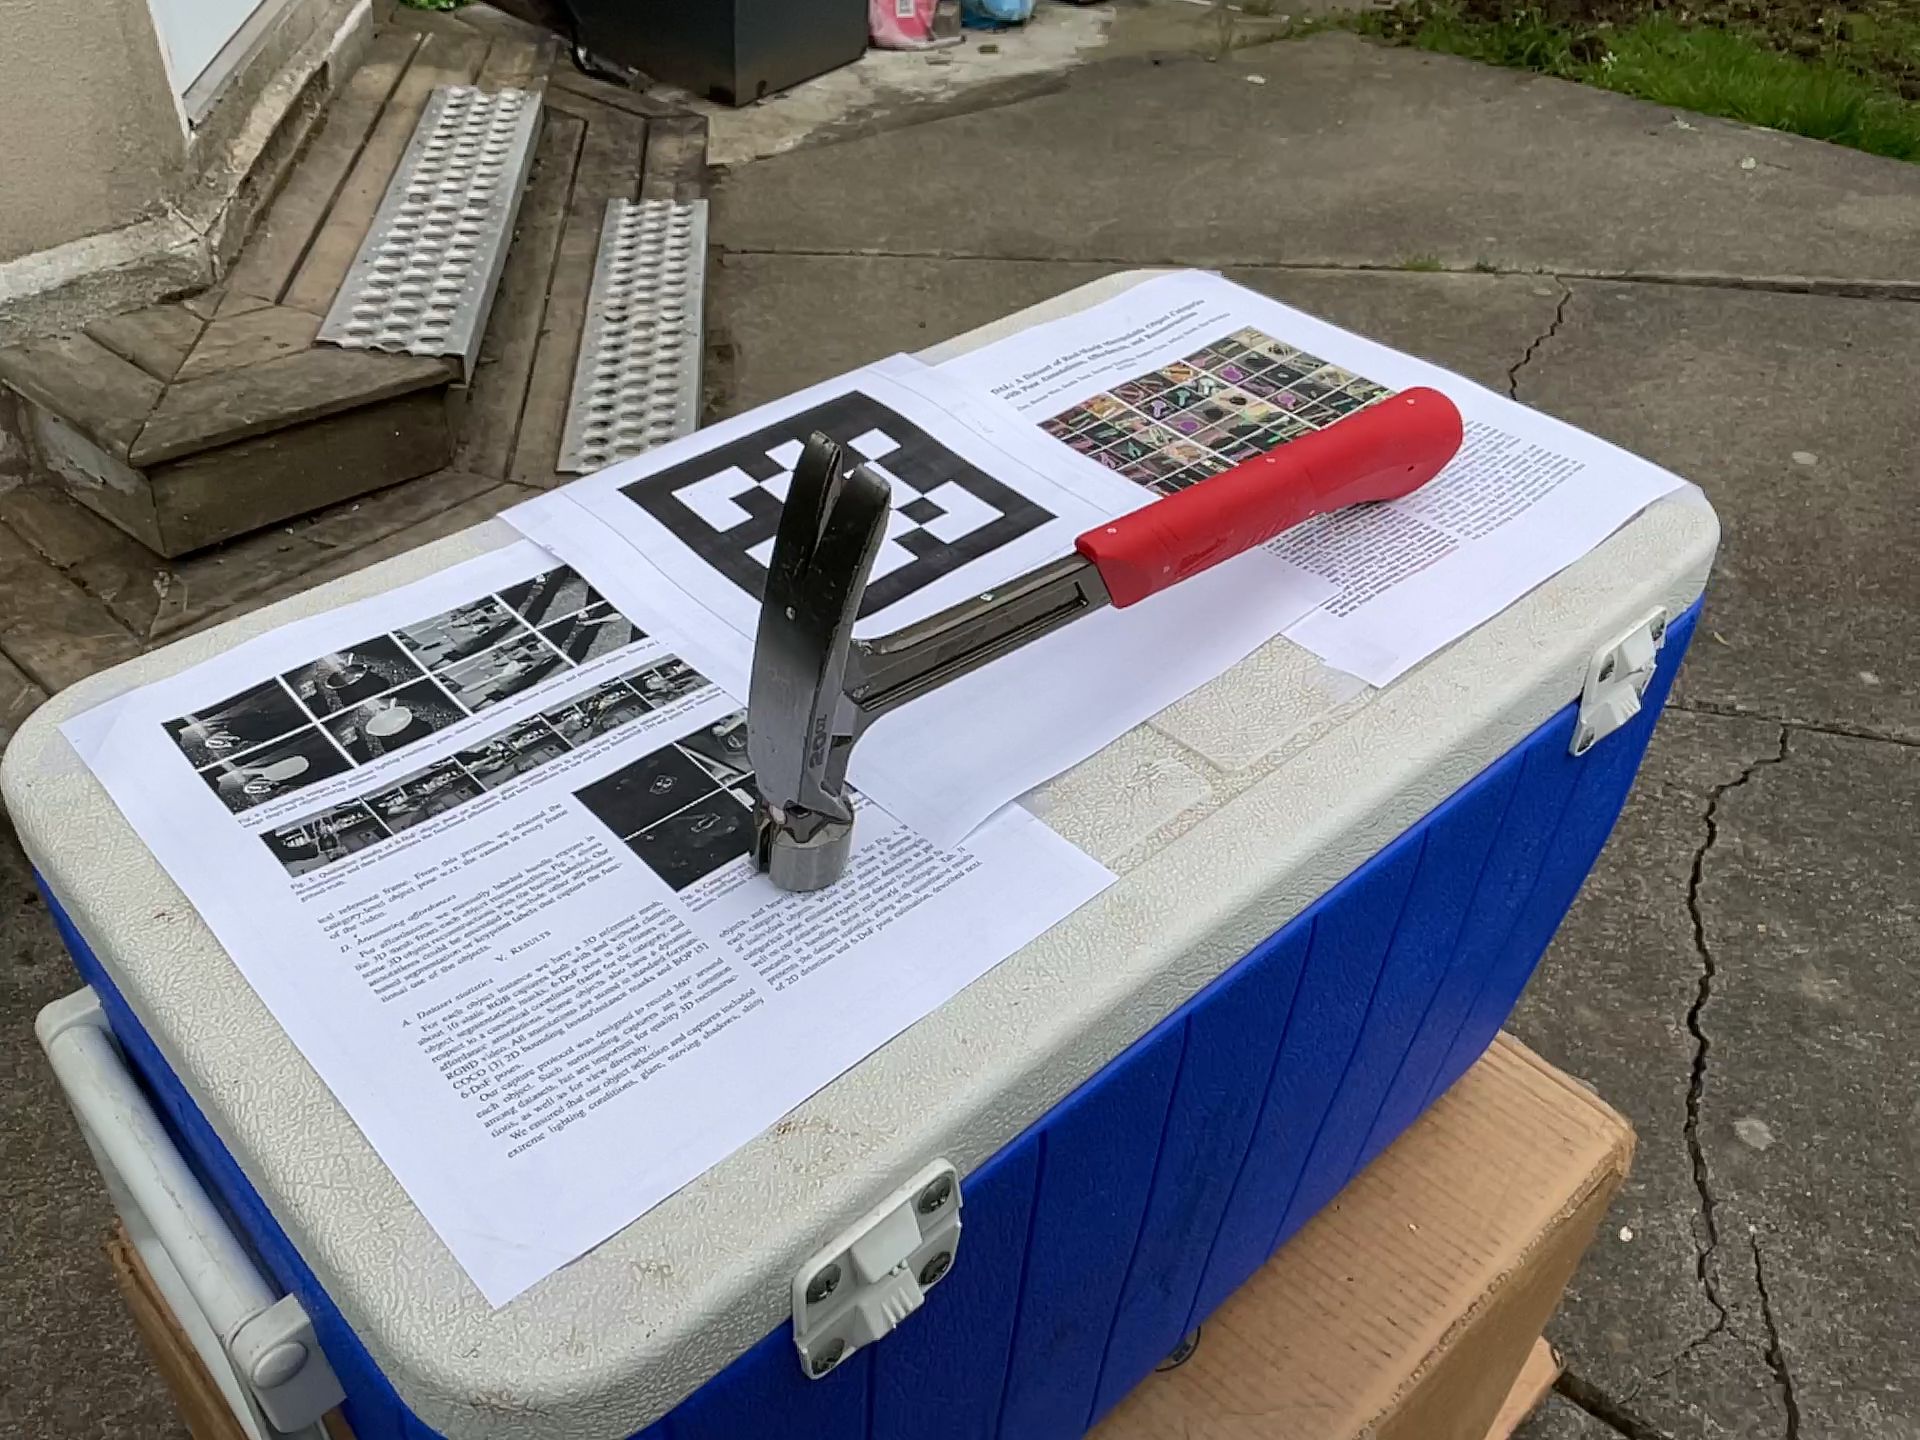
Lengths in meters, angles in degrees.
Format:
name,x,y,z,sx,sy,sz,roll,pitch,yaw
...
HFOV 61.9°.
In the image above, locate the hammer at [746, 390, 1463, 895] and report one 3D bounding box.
name,x,y,z,sx,sy,sz,roll,pitch,yaw
hammer,0.074,-0.068,0.553,0.037,0.149,0.359,38,45,27
